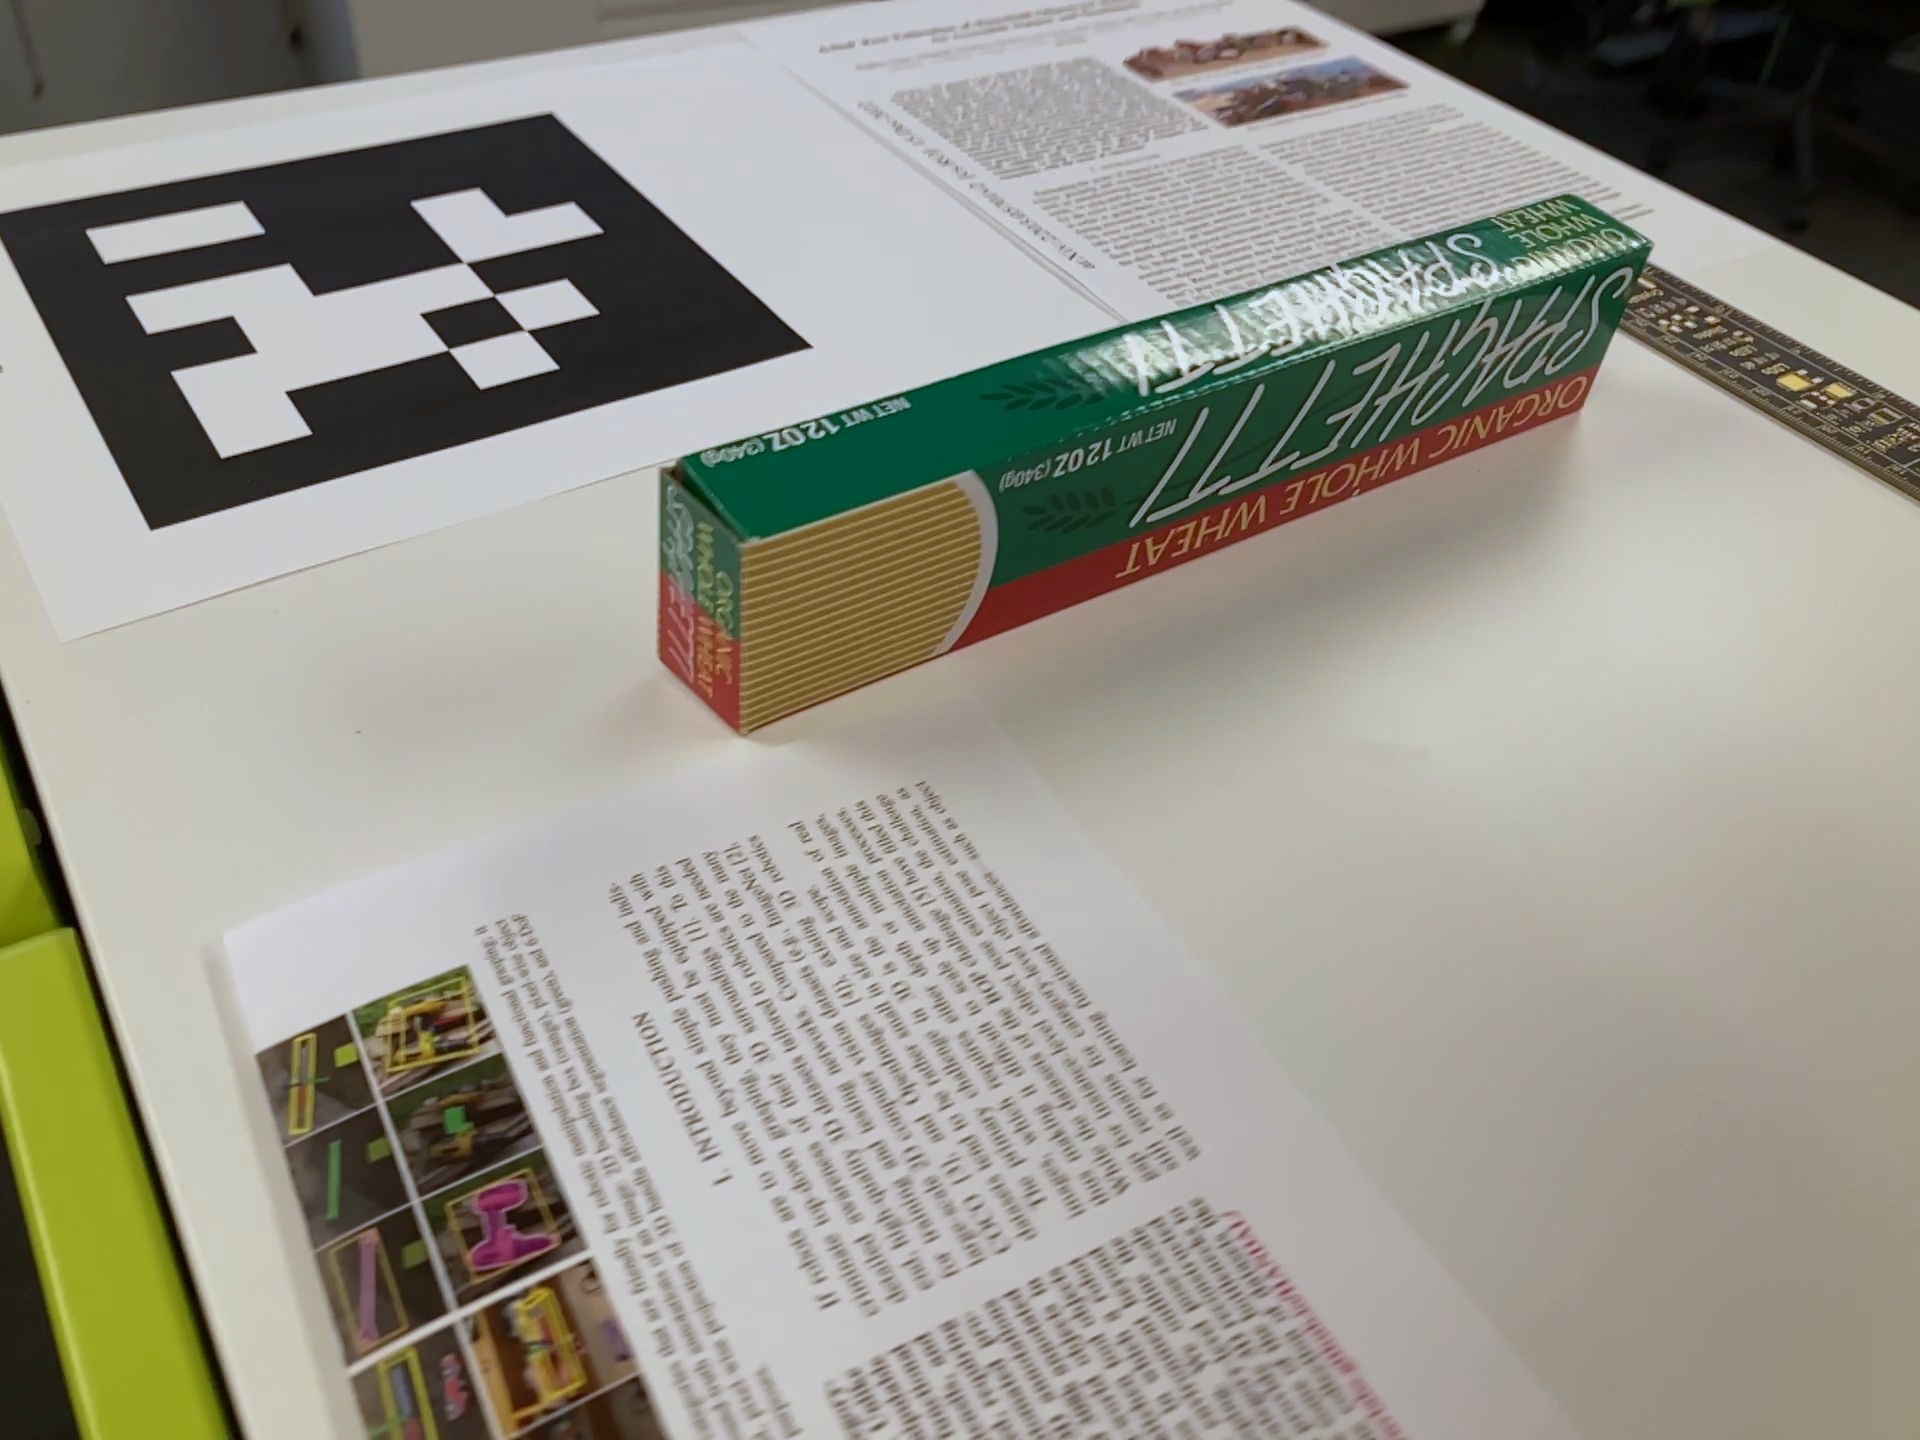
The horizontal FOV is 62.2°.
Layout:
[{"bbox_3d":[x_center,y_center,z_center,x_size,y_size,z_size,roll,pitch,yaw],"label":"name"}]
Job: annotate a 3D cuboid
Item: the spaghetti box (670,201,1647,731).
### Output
[{"bbox_3d":[0.055,-0.064,0.349,0.250,0.050,0.028,-22,54,-27],"label":"spaghetti box"}]
